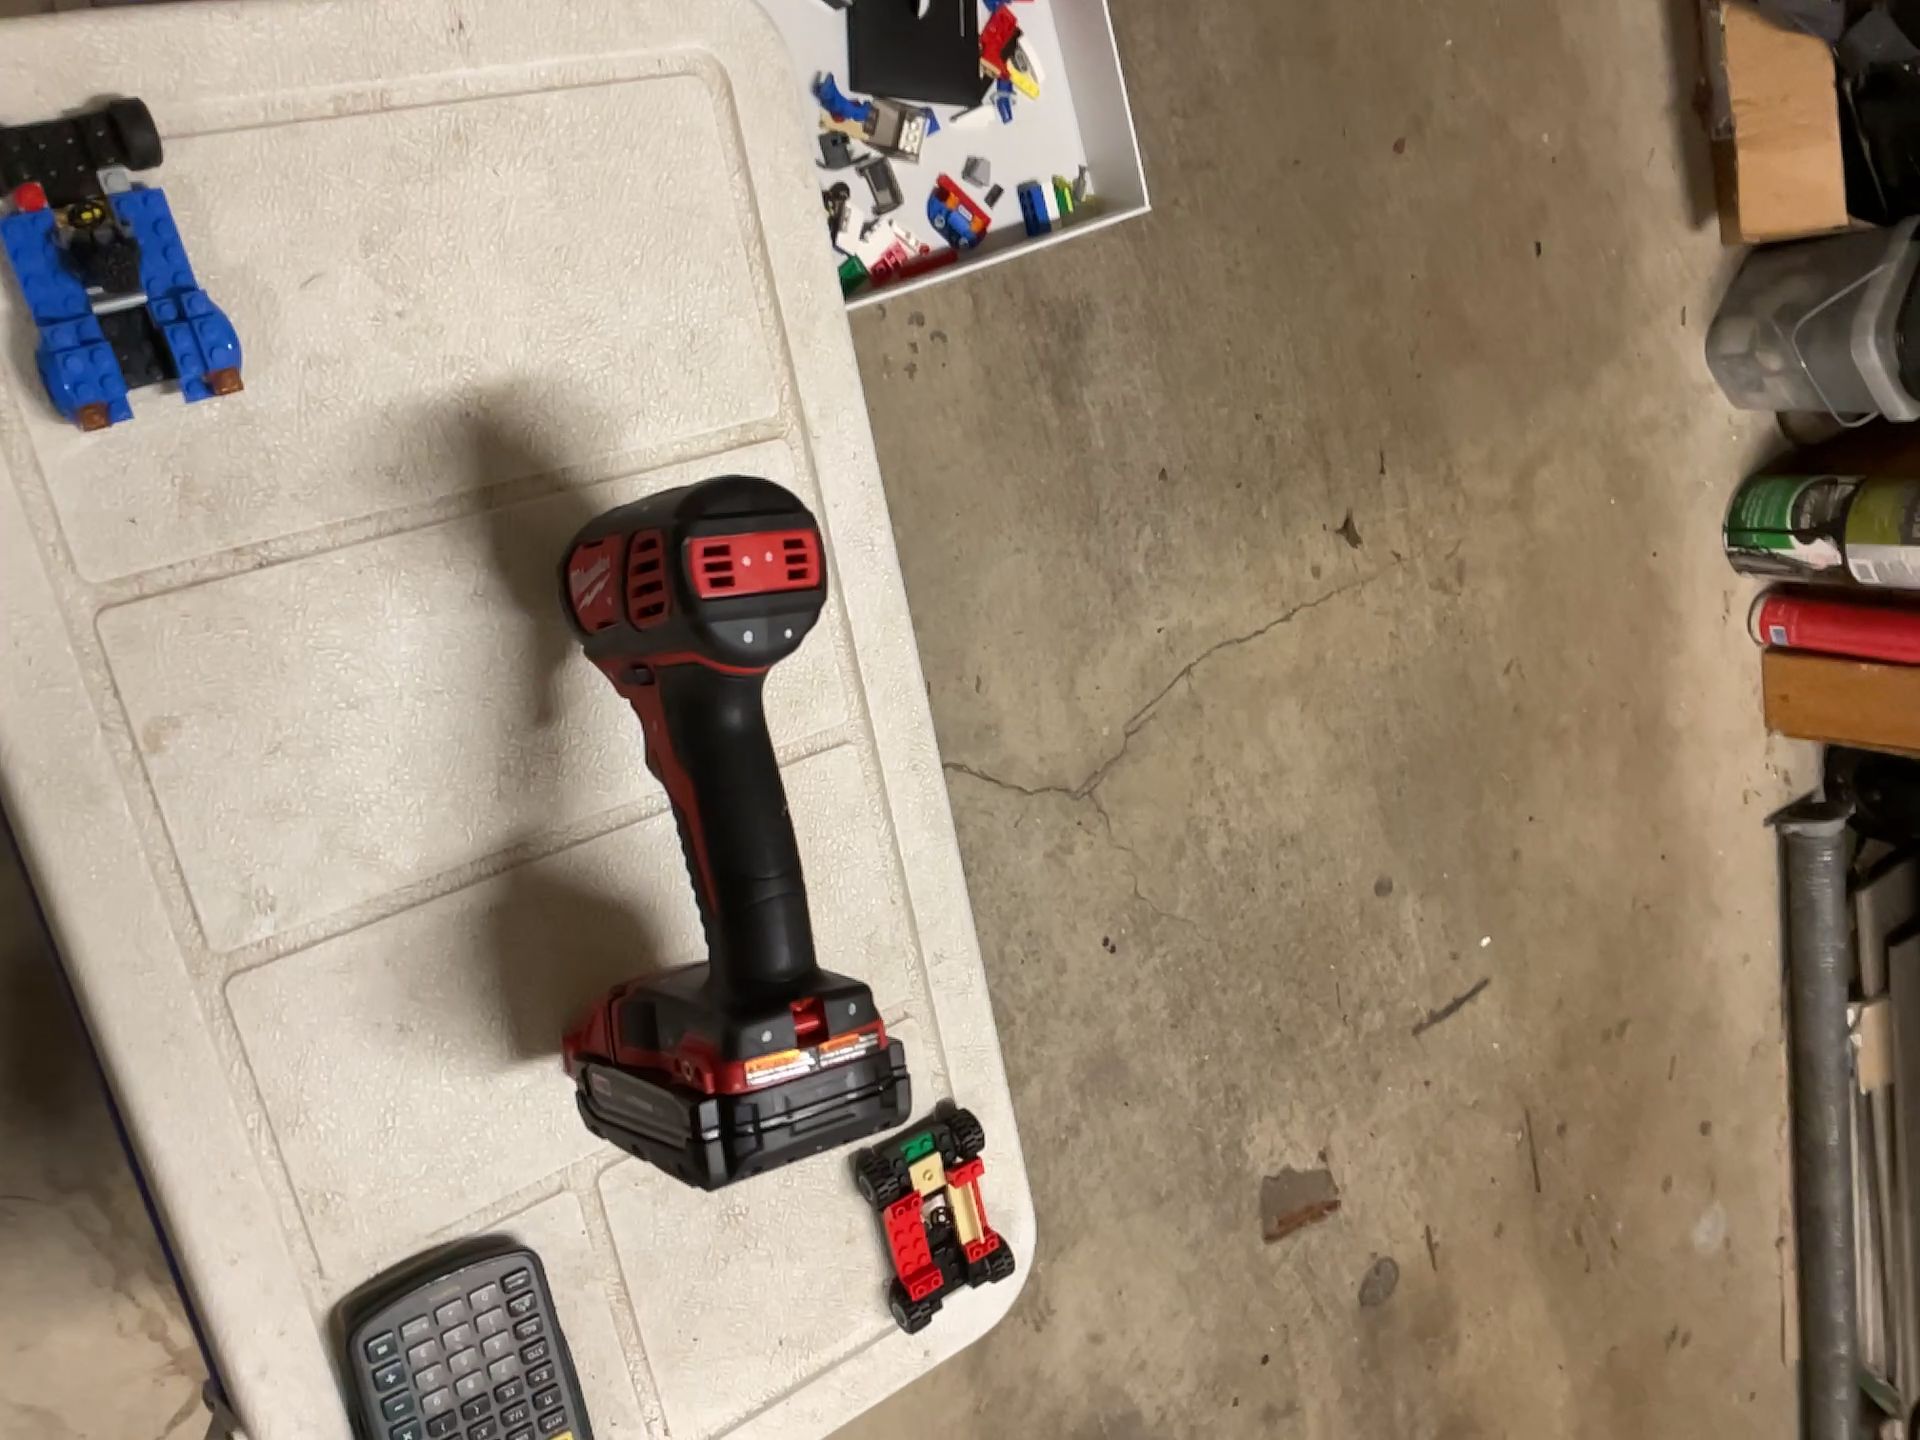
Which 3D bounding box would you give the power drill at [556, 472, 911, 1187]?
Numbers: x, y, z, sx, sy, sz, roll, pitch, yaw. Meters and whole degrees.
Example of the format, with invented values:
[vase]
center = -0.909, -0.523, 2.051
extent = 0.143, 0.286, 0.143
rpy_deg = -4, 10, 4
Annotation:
[power drill]
center = -0.091, 0.032, 0.546
extent = 0.078, 0.143, 0.219
rpy_deg = -10, 95, -35
